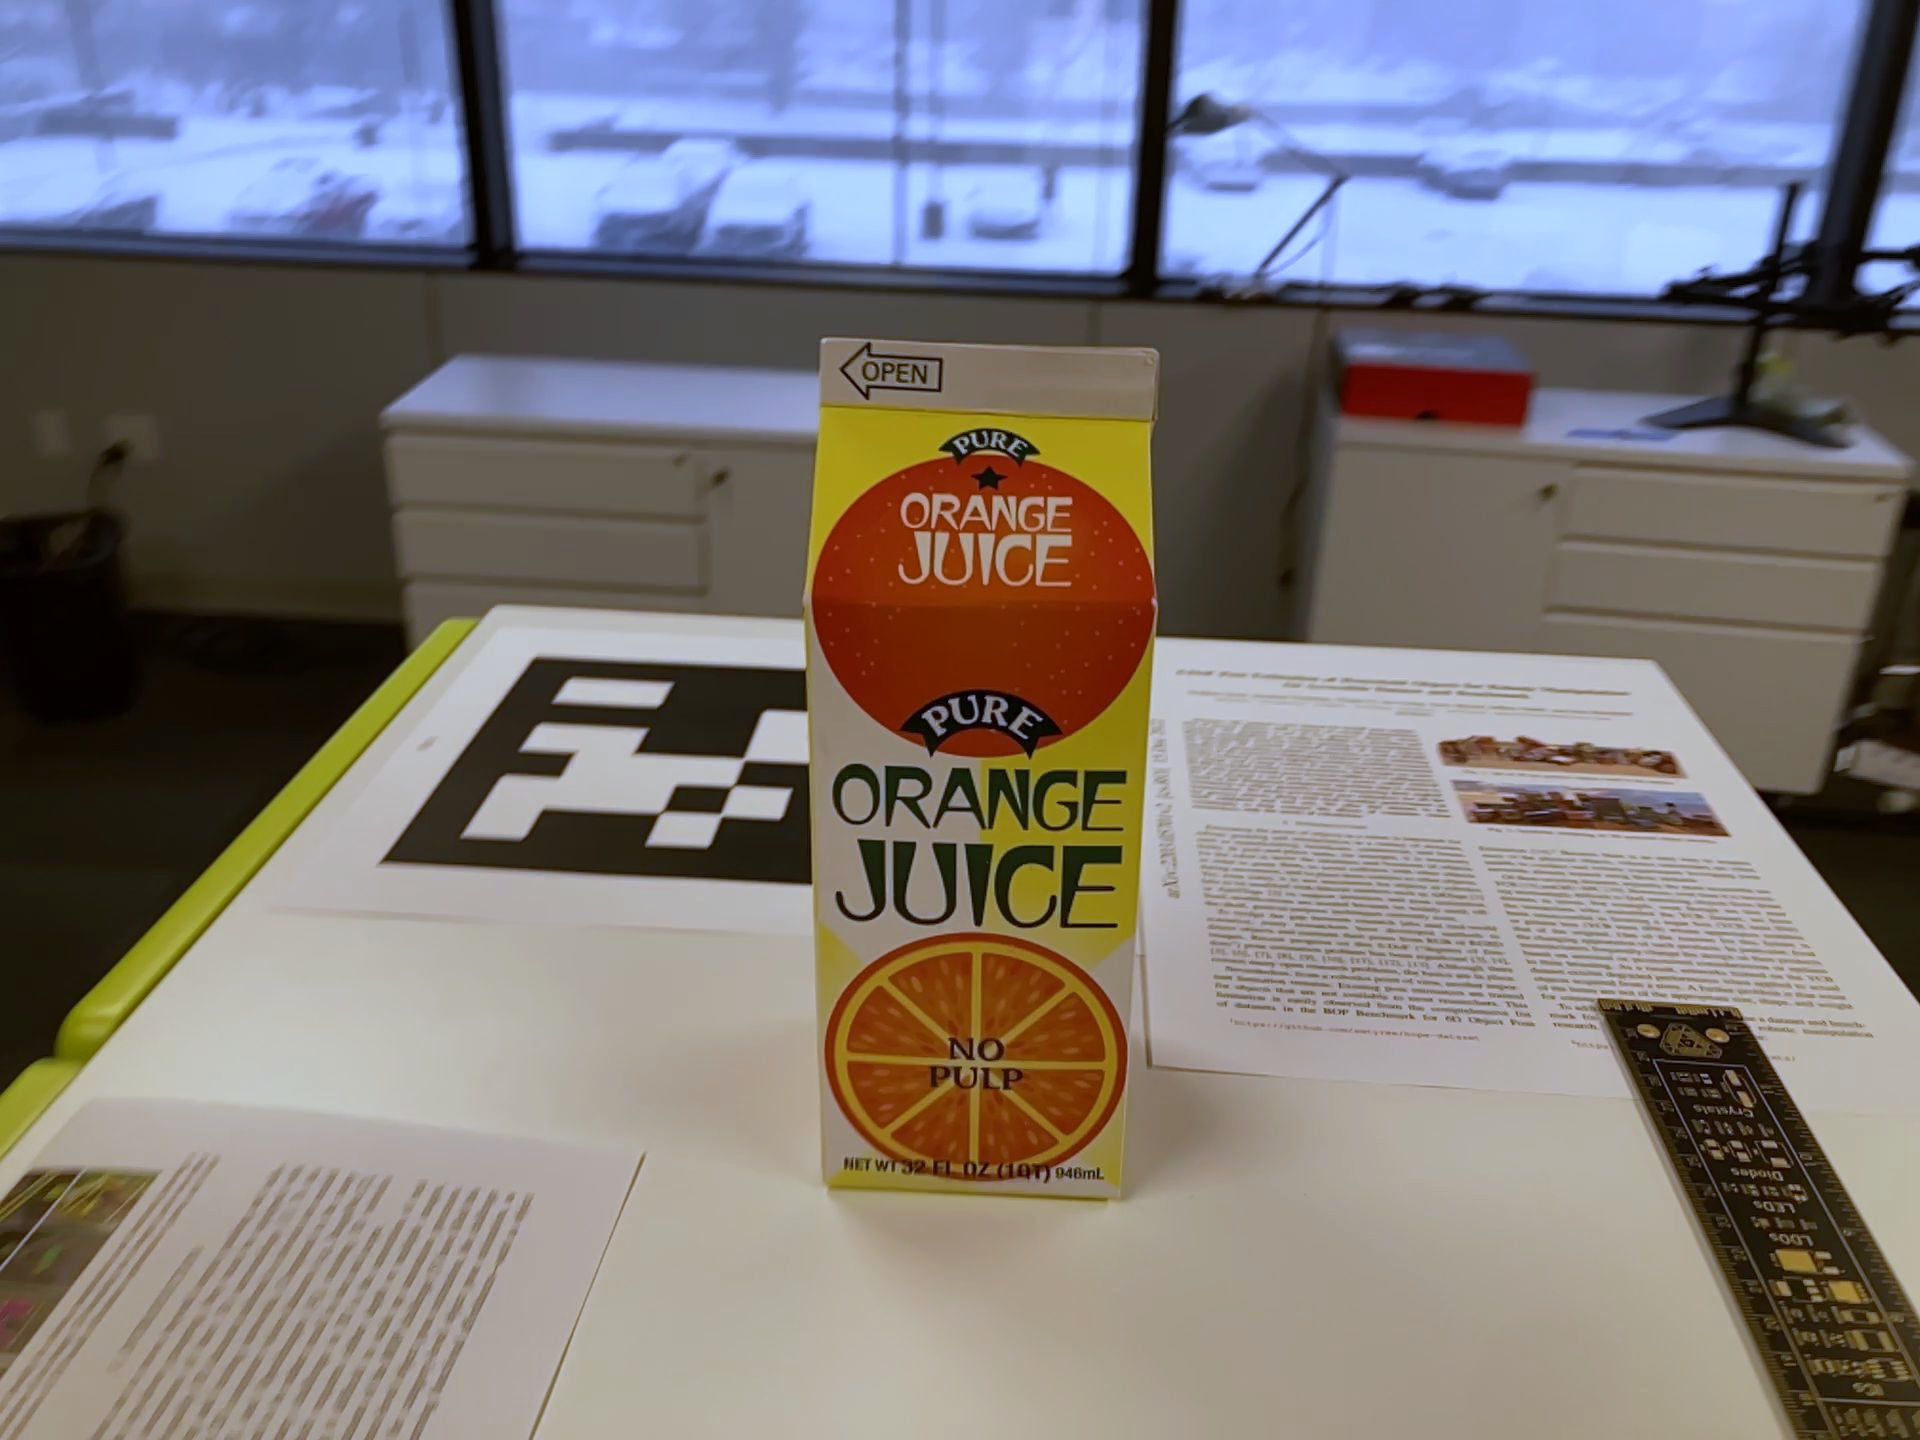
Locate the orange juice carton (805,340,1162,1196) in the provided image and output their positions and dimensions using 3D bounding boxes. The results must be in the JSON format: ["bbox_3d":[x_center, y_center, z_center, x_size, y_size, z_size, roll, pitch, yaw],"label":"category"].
[{"bbox_3d":[0.006,0.010,0.368,0.072,0.192,0.073,2,25,3],"label":"orange juice carton"}]
